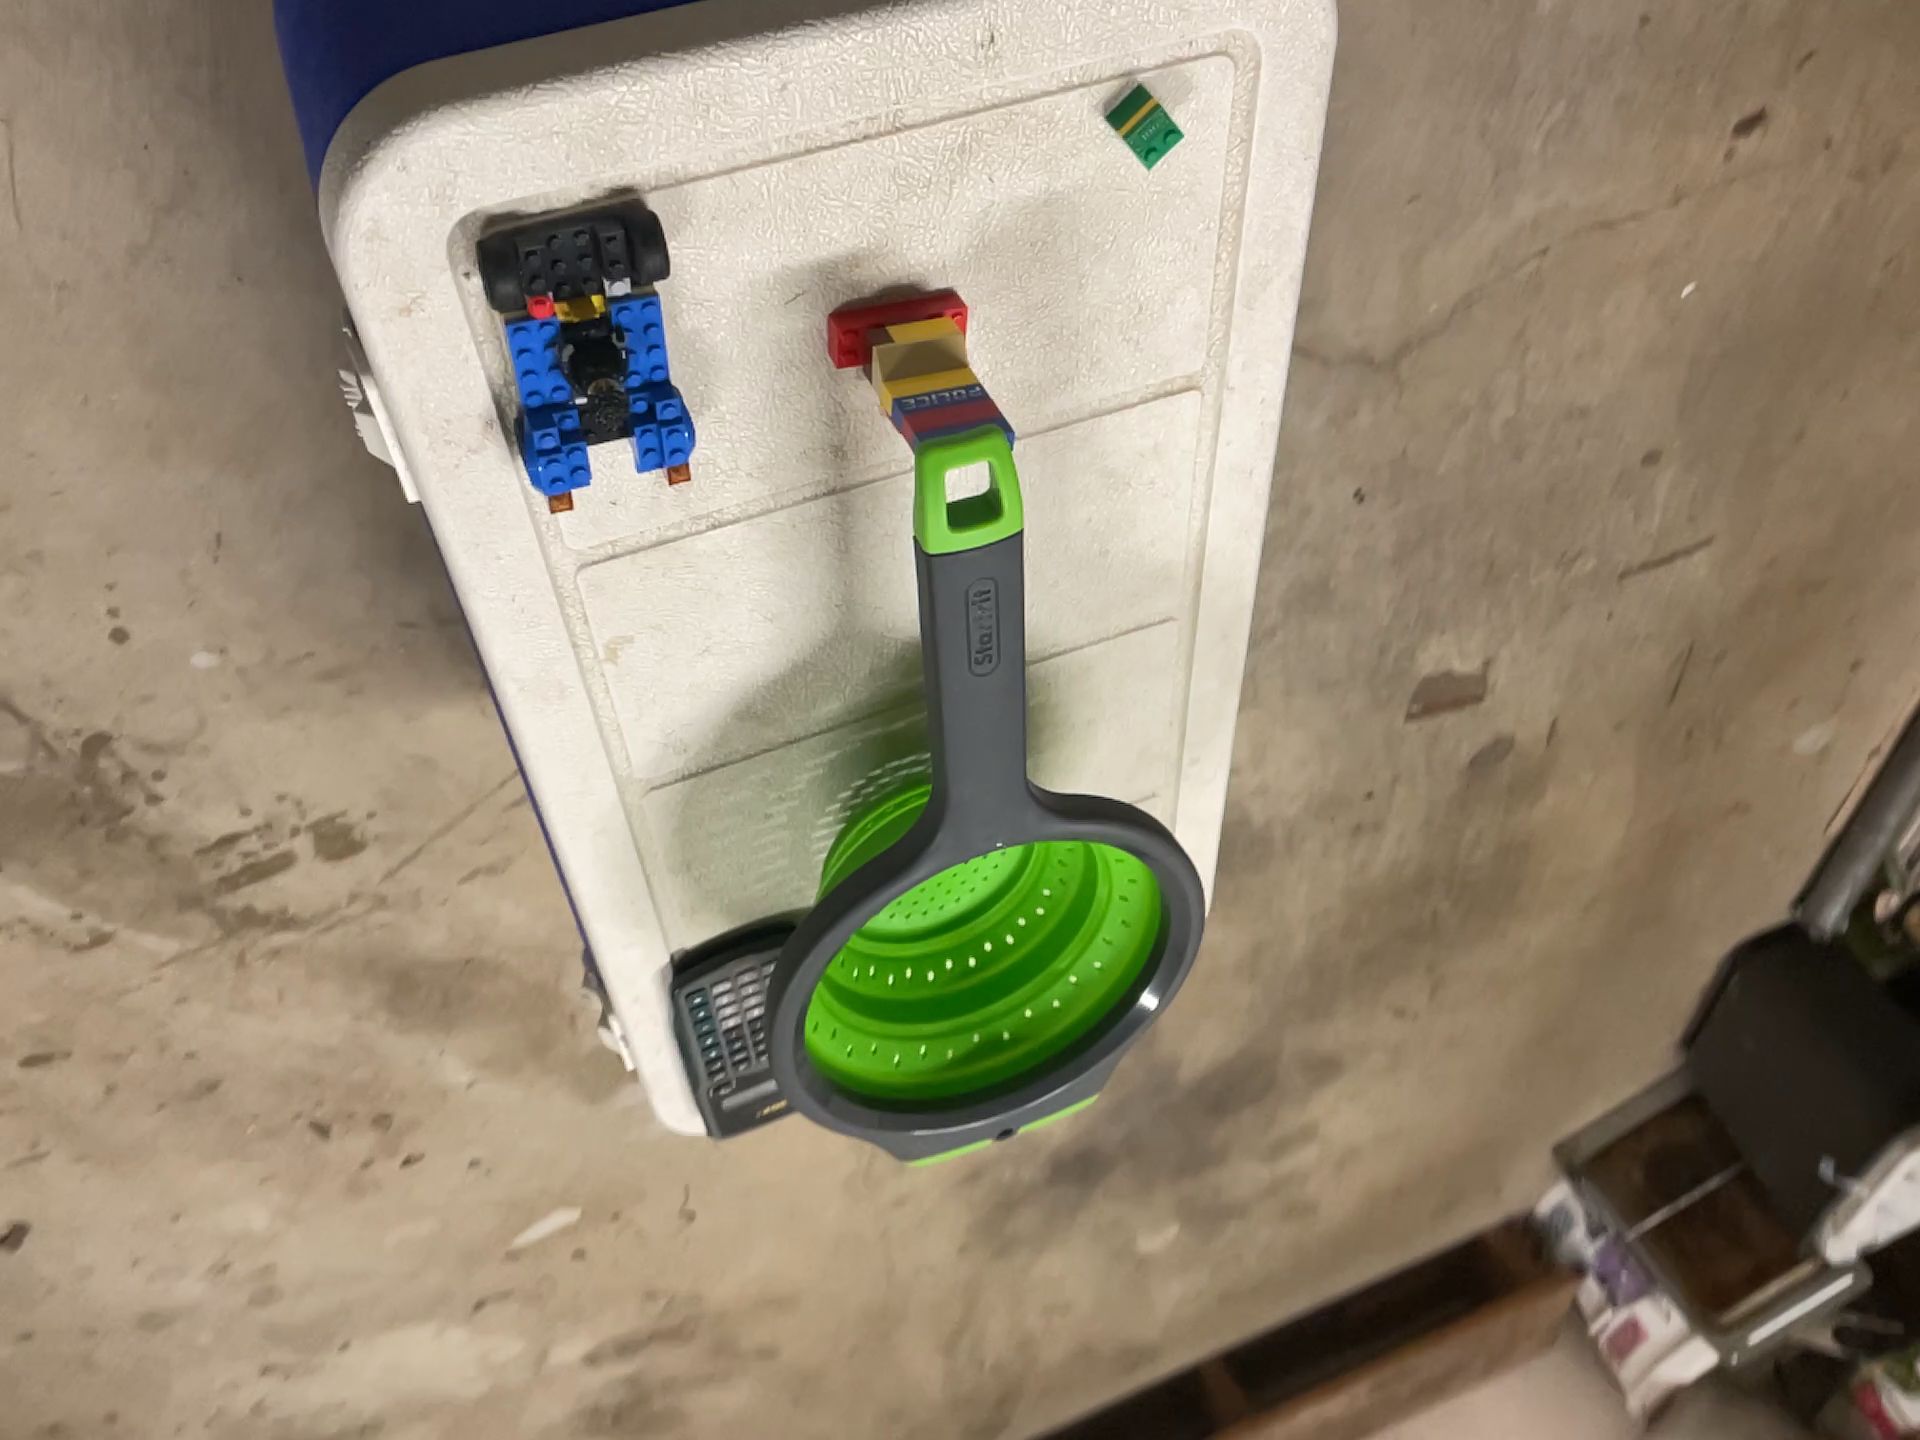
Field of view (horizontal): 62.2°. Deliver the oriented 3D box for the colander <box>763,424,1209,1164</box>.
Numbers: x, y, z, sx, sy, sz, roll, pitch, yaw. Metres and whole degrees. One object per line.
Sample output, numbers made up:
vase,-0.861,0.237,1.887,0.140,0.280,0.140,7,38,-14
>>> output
colander,-0.002,0.031,0.667,0.205,0.095,0.396,-15,135,-13
